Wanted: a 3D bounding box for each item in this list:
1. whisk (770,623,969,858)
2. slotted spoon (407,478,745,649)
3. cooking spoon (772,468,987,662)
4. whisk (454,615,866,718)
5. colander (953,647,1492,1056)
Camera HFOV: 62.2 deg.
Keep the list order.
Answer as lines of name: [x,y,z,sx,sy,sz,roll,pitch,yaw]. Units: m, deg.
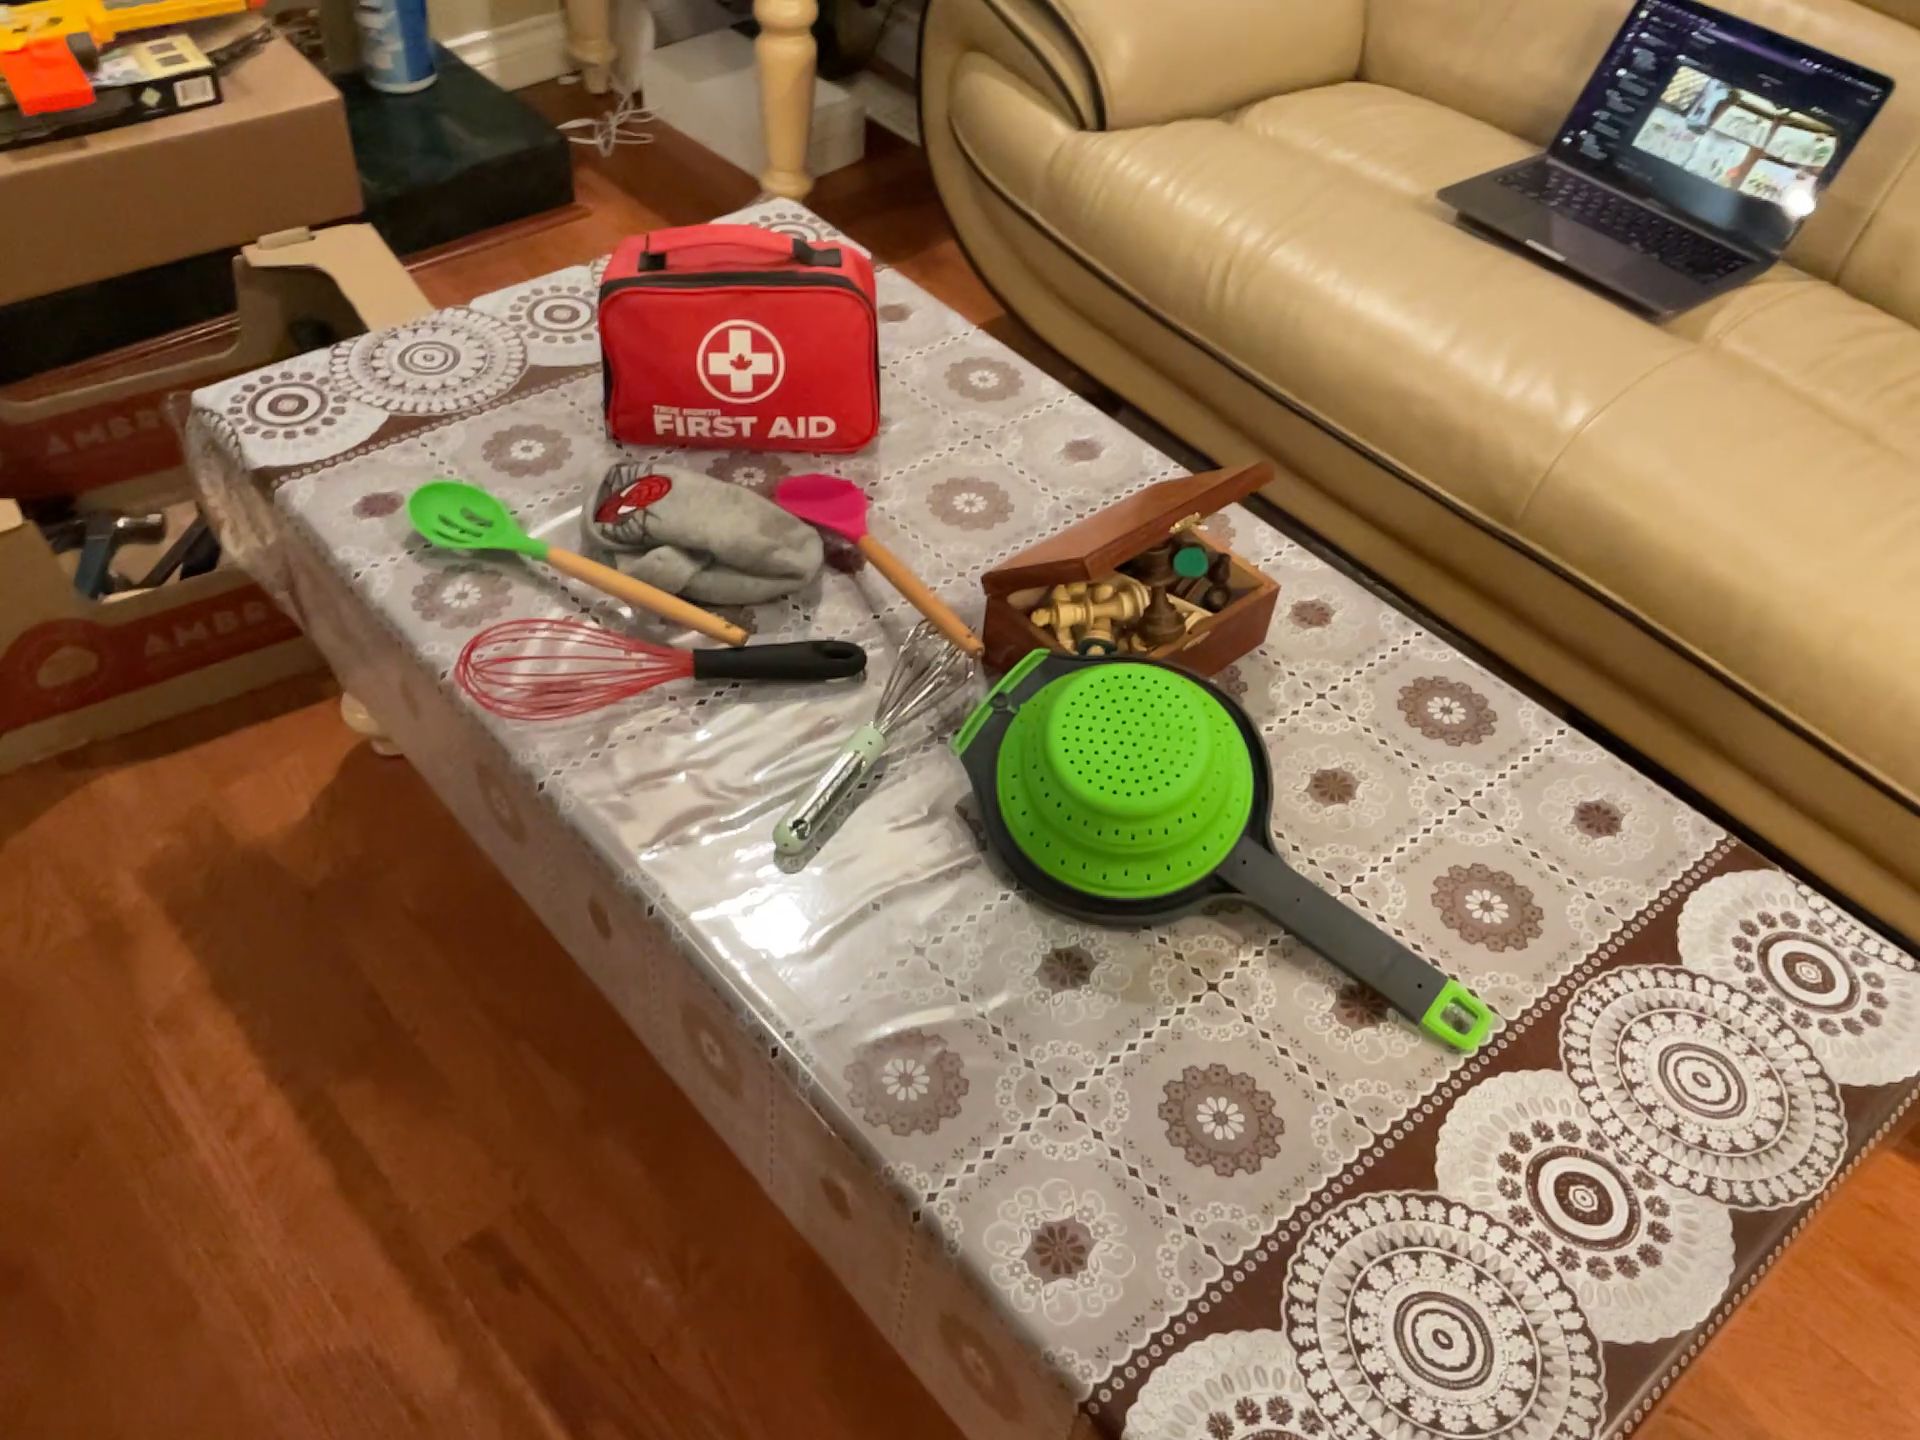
whisk: [-0.060,0.013,1.134,0.058,0.059,0.246,-12,30,45]
slotted spoon: [-0.296,-0.117,1.222,0.314,0.031,0.070,24,48,20]
cooking spoon: [-0.064,-0.128,1.244,0.068,0.017,0.319,-20,40,-22]
whisk: [-0.213,-0.041,1.156,0.295,0.073,0.073,-1,39,-17]
colander: [0.174,0.076,1.029,0.397,0.094,0.204,36,72,17]
